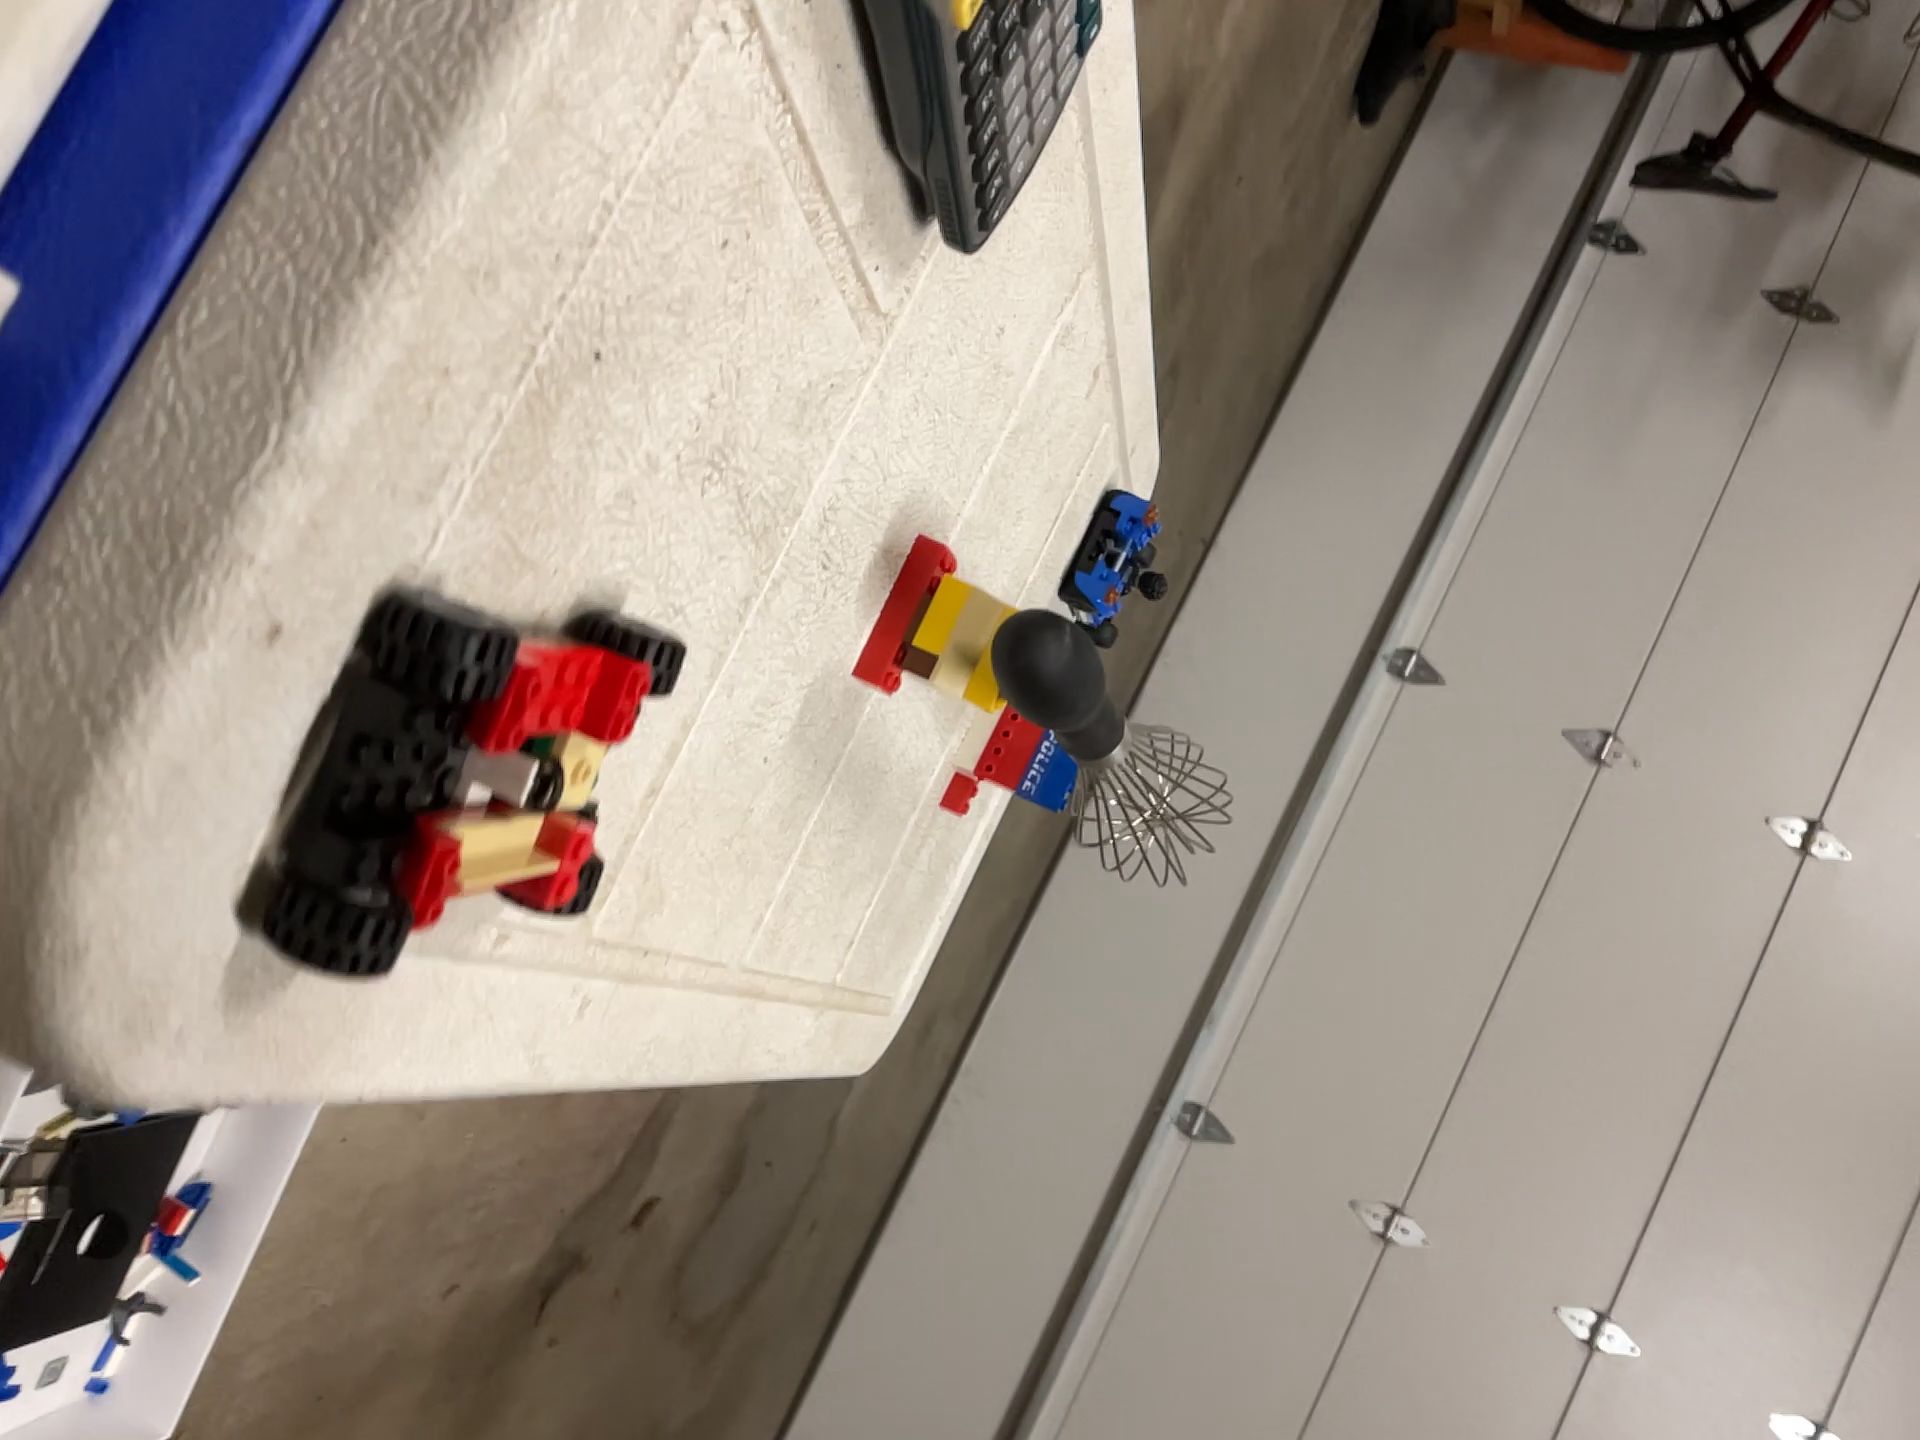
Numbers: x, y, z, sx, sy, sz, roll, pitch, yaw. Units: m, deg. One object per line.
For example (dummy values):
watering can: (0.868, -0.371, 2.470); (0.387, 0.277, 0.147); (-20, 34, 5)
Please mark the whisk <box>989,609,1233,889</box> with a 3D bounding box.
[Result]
whisk: (0.053, 0.013, 0.558); (0.070, 0.070, 0.284); (-60, 161, -4)
